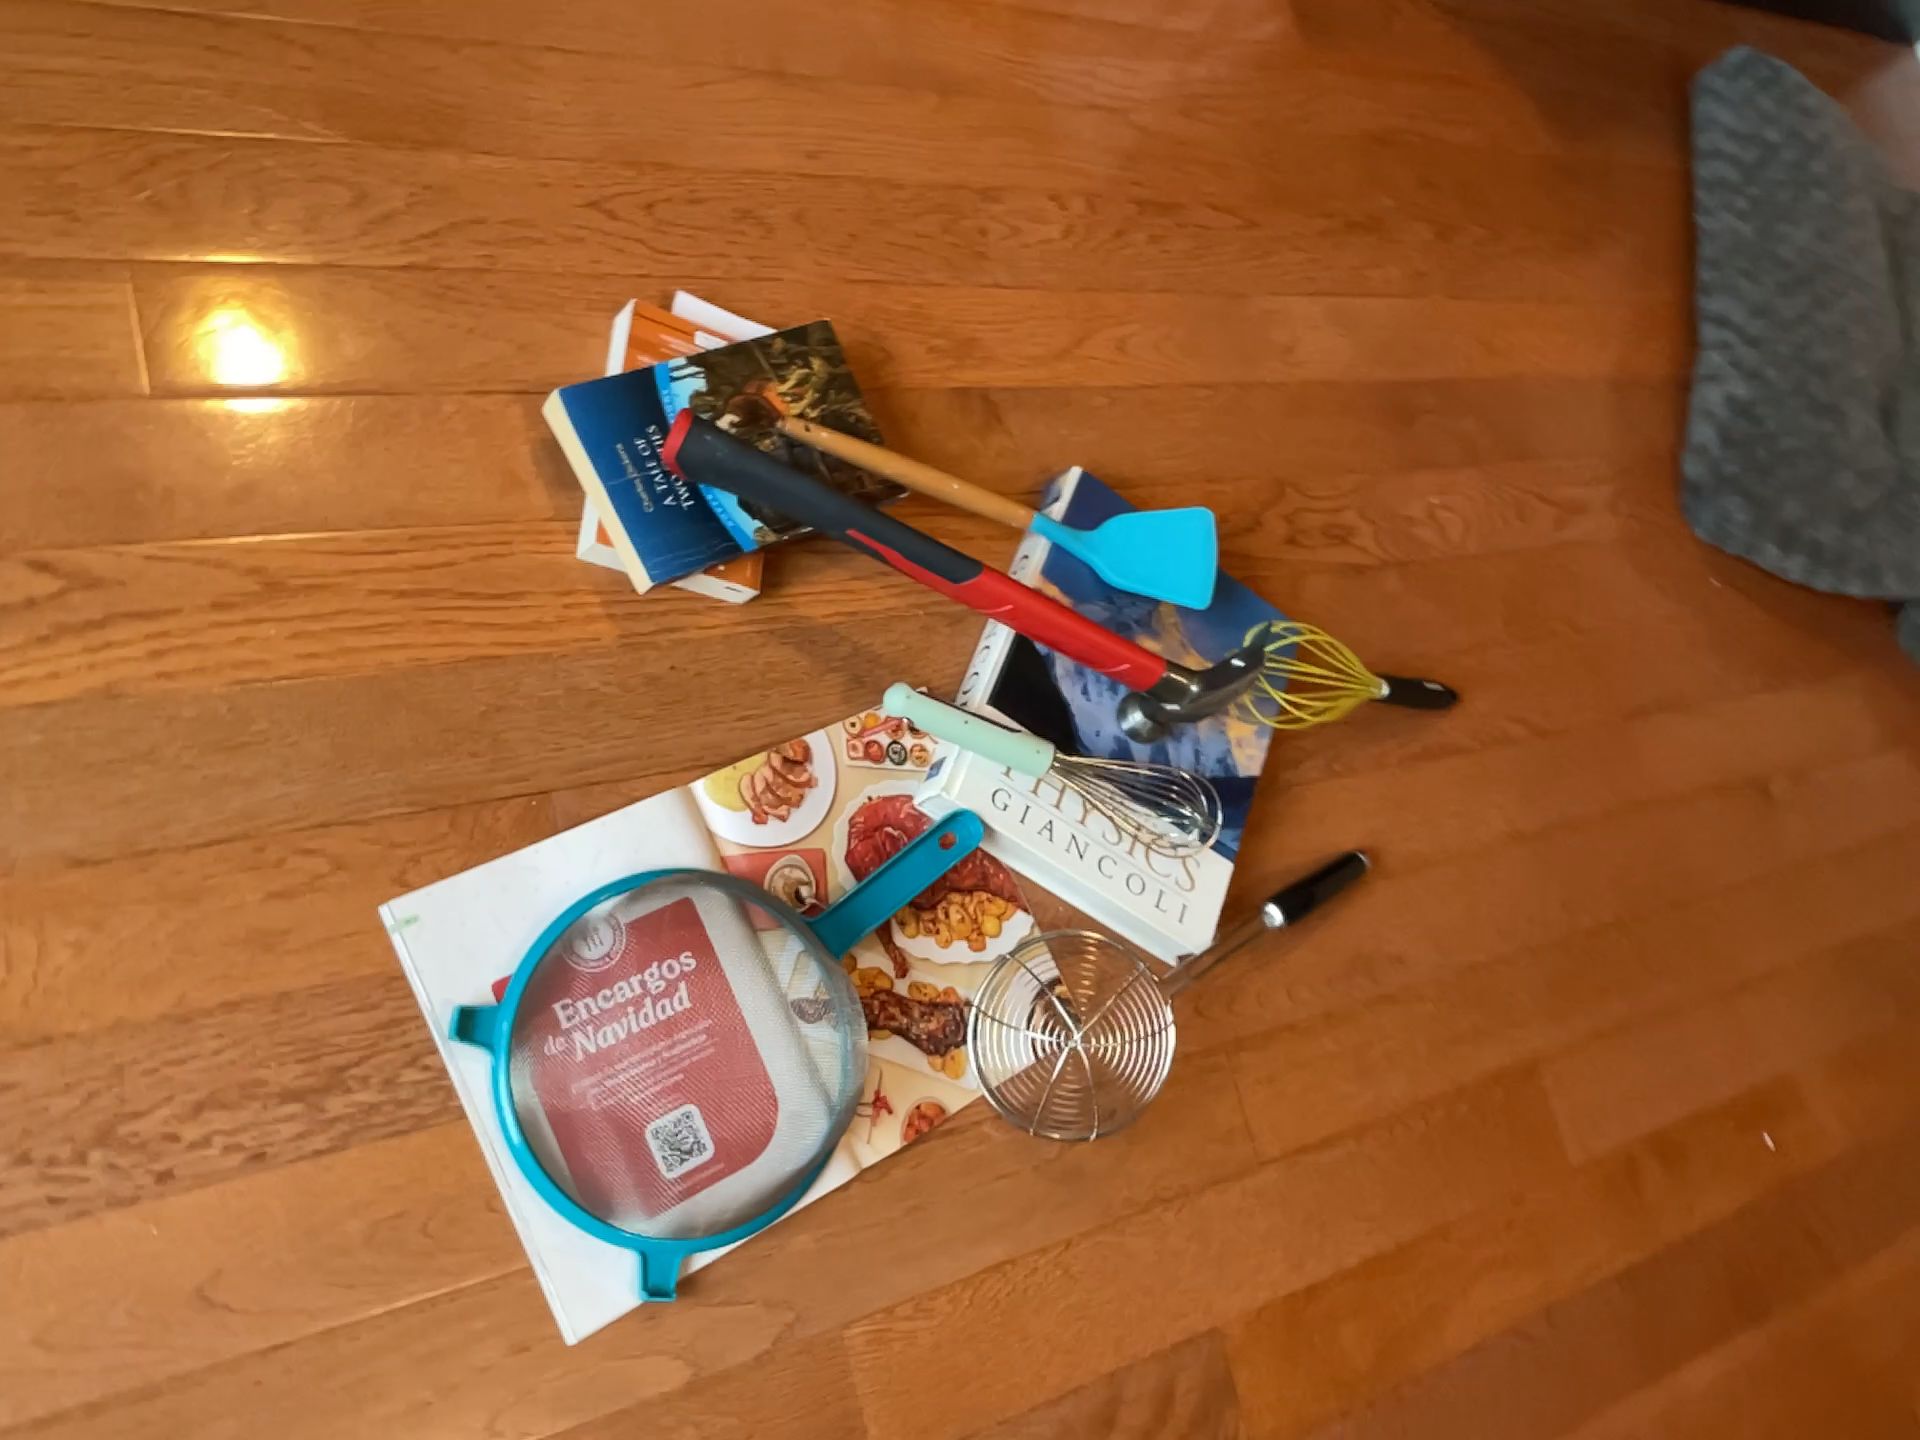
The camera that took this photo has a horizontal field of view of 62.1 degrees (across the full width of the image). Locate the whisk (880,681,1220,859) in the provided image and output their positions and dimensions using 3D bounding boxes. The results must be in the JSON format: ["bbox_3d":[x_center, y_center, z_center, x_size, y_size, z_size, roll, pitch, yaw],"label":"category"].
[{"bbox_3d":[0.061,0.028,1.017,0.246,0.058,0.059,23,94,-17],"label":"whisk"}]

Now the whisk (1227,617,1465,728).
[{"bbox_3d":[0.297,-0.026,1.190,0.312,0.067,0.080,4,55,-45],"label":"whisk"}]

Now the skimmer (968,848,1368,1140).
[{"bbox_3d":[0.157,0.161,1.079,0.364,0.090,0.127,-21,83,-45],"label":"skimmer"}]

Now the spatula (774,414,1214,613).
[{"bbox_3d":[0.028,-0.146,1.053,0.317,0.044,0.082,17,67,-25],"label":"spatula"}]

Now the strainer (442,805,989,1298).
[{"bbox_3d":[-0.094,0.142,0.884,0.341,0.095,0.211,-36,93,-28],"label":"strainer"}]

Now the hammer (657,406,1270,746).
[{"bbox_3d":[0.002,-0.096,0.973,0.386,0.143,0.038,26,59,-18],"label":"hammer"}]
